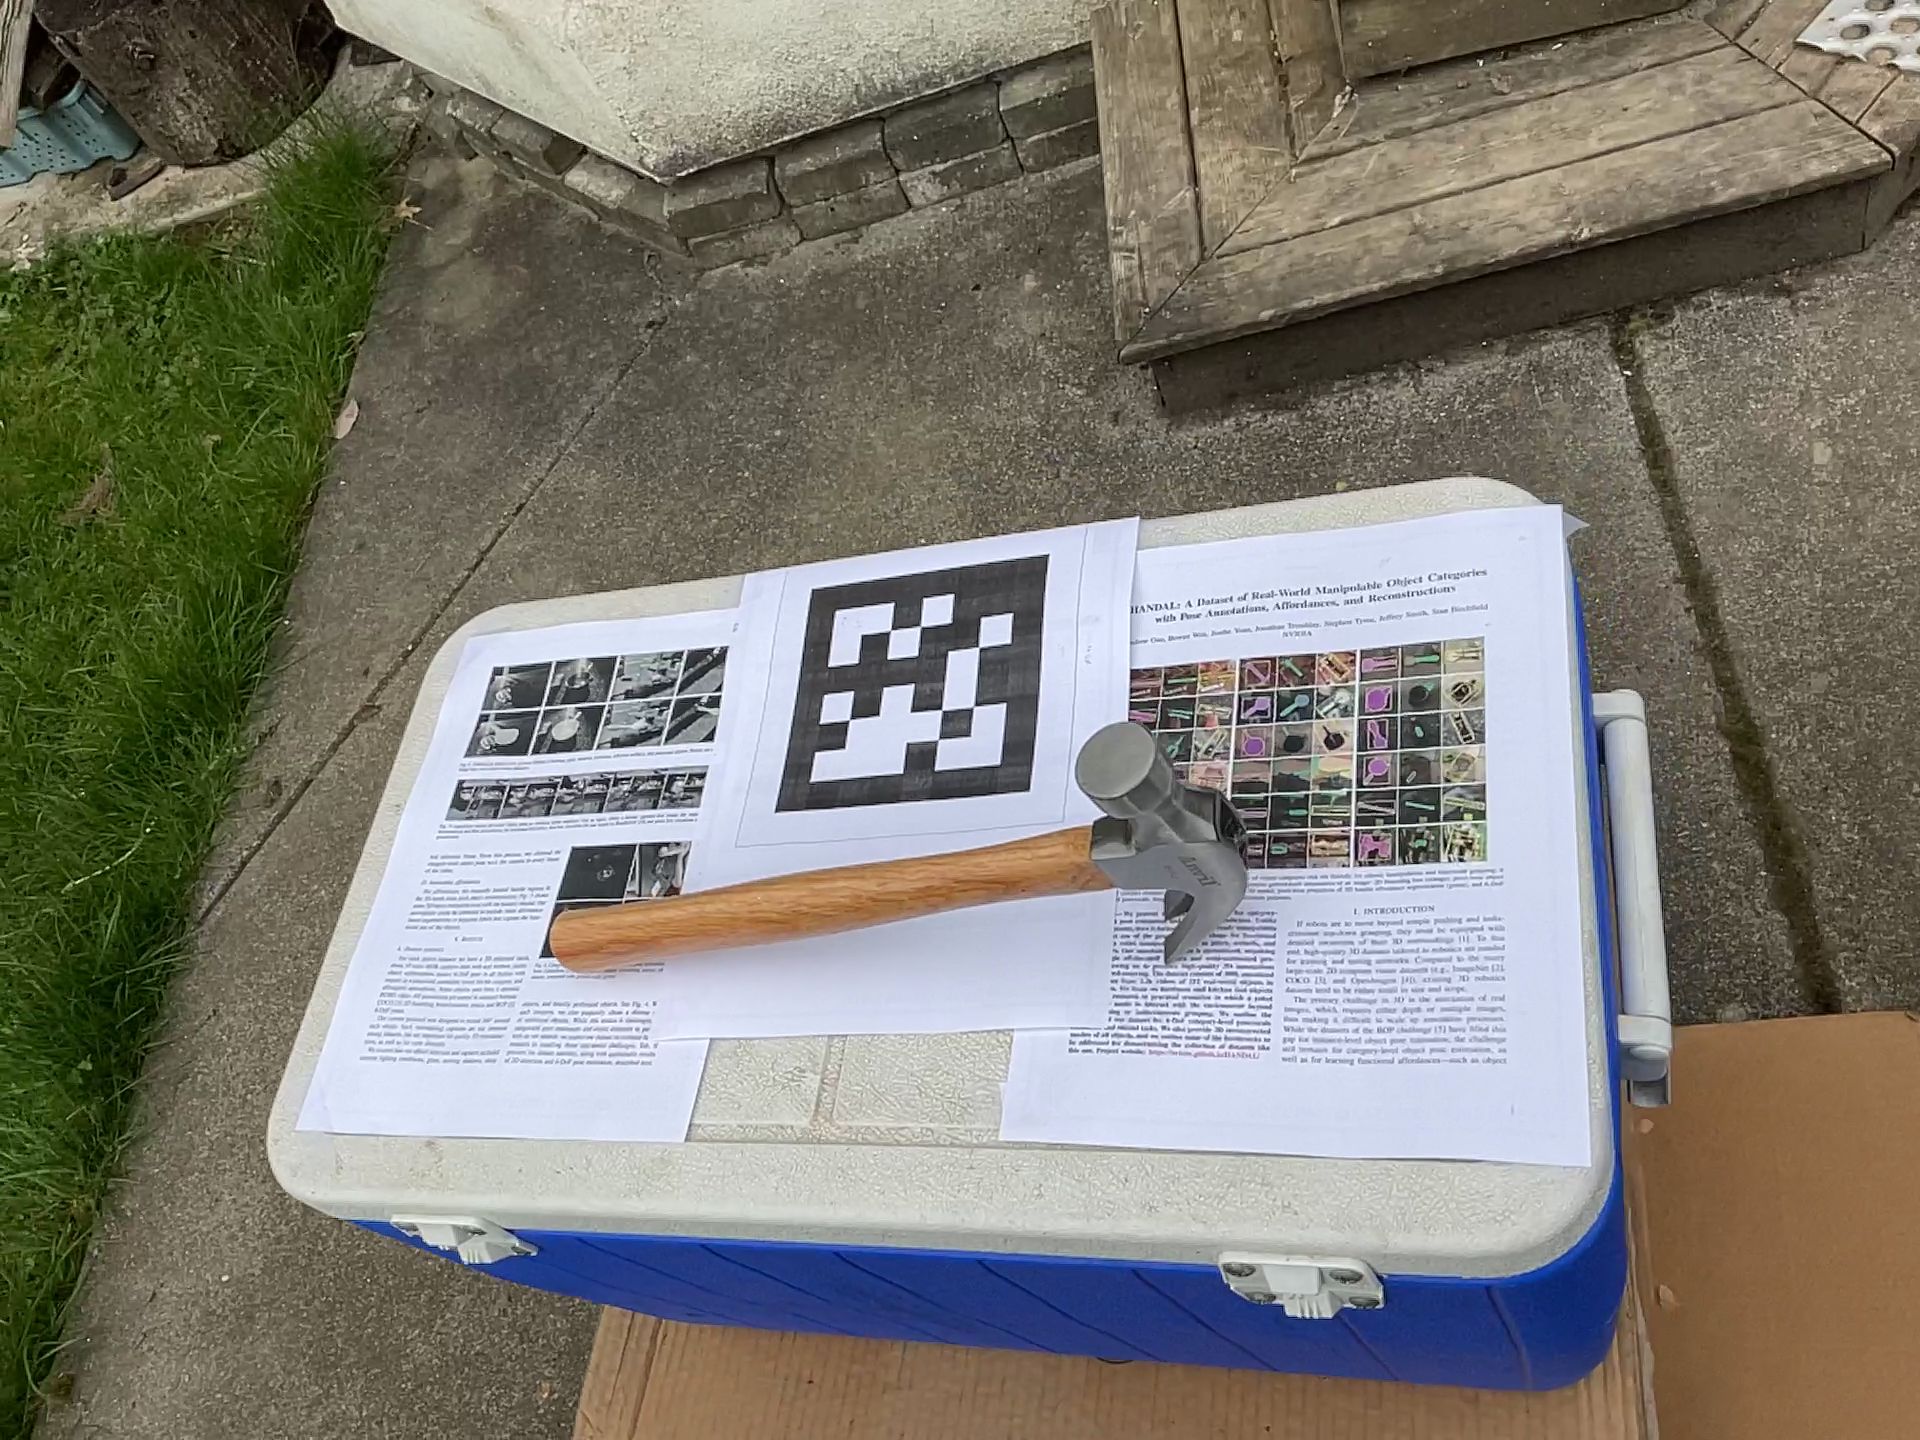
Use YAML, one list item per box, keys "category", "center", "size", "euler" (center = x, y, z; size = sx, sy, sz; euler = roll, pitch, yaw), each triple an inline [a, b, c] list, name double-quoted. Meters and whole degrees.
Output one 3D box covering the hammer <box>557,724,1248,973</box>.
- category: "hammer"
  center: [-0.038, 0.074, 0.663]
  size: [0.331, 0.129, 0.031]
  euler: [-13, 53, 31]
